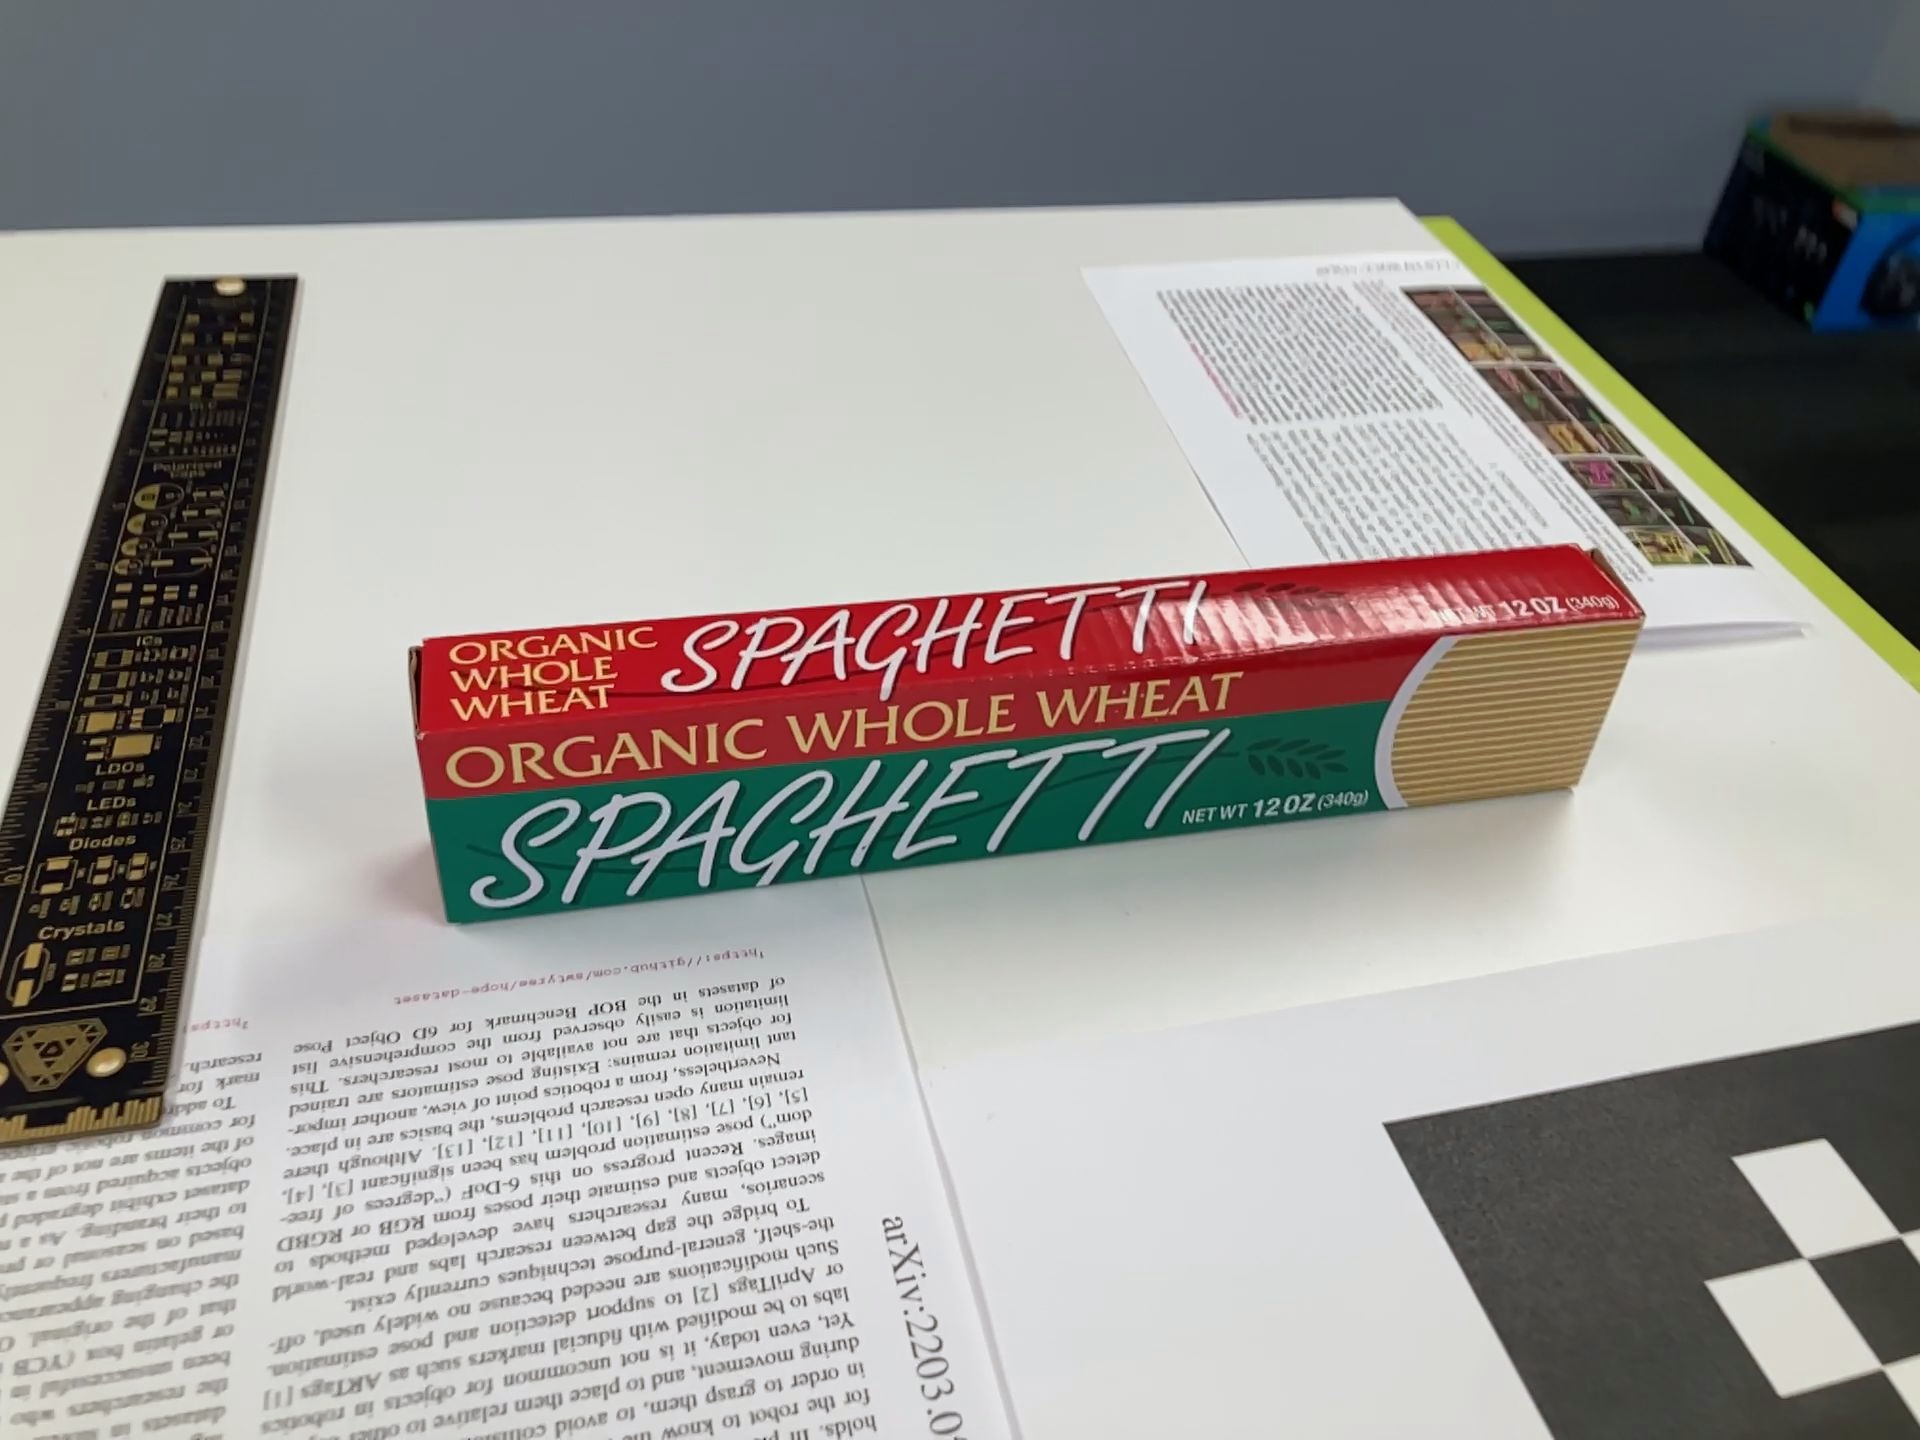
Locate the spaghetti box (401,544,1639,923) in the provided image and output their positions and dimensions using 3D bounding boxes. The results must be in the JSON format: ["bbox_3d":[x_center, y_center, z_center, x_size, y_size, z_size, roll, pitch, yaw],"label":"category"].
[{"bbox_3d":[0.019,0.000,0.329,0.250,0.050,0.028,-6,40,-14],"label":"spaghetti box"}]
